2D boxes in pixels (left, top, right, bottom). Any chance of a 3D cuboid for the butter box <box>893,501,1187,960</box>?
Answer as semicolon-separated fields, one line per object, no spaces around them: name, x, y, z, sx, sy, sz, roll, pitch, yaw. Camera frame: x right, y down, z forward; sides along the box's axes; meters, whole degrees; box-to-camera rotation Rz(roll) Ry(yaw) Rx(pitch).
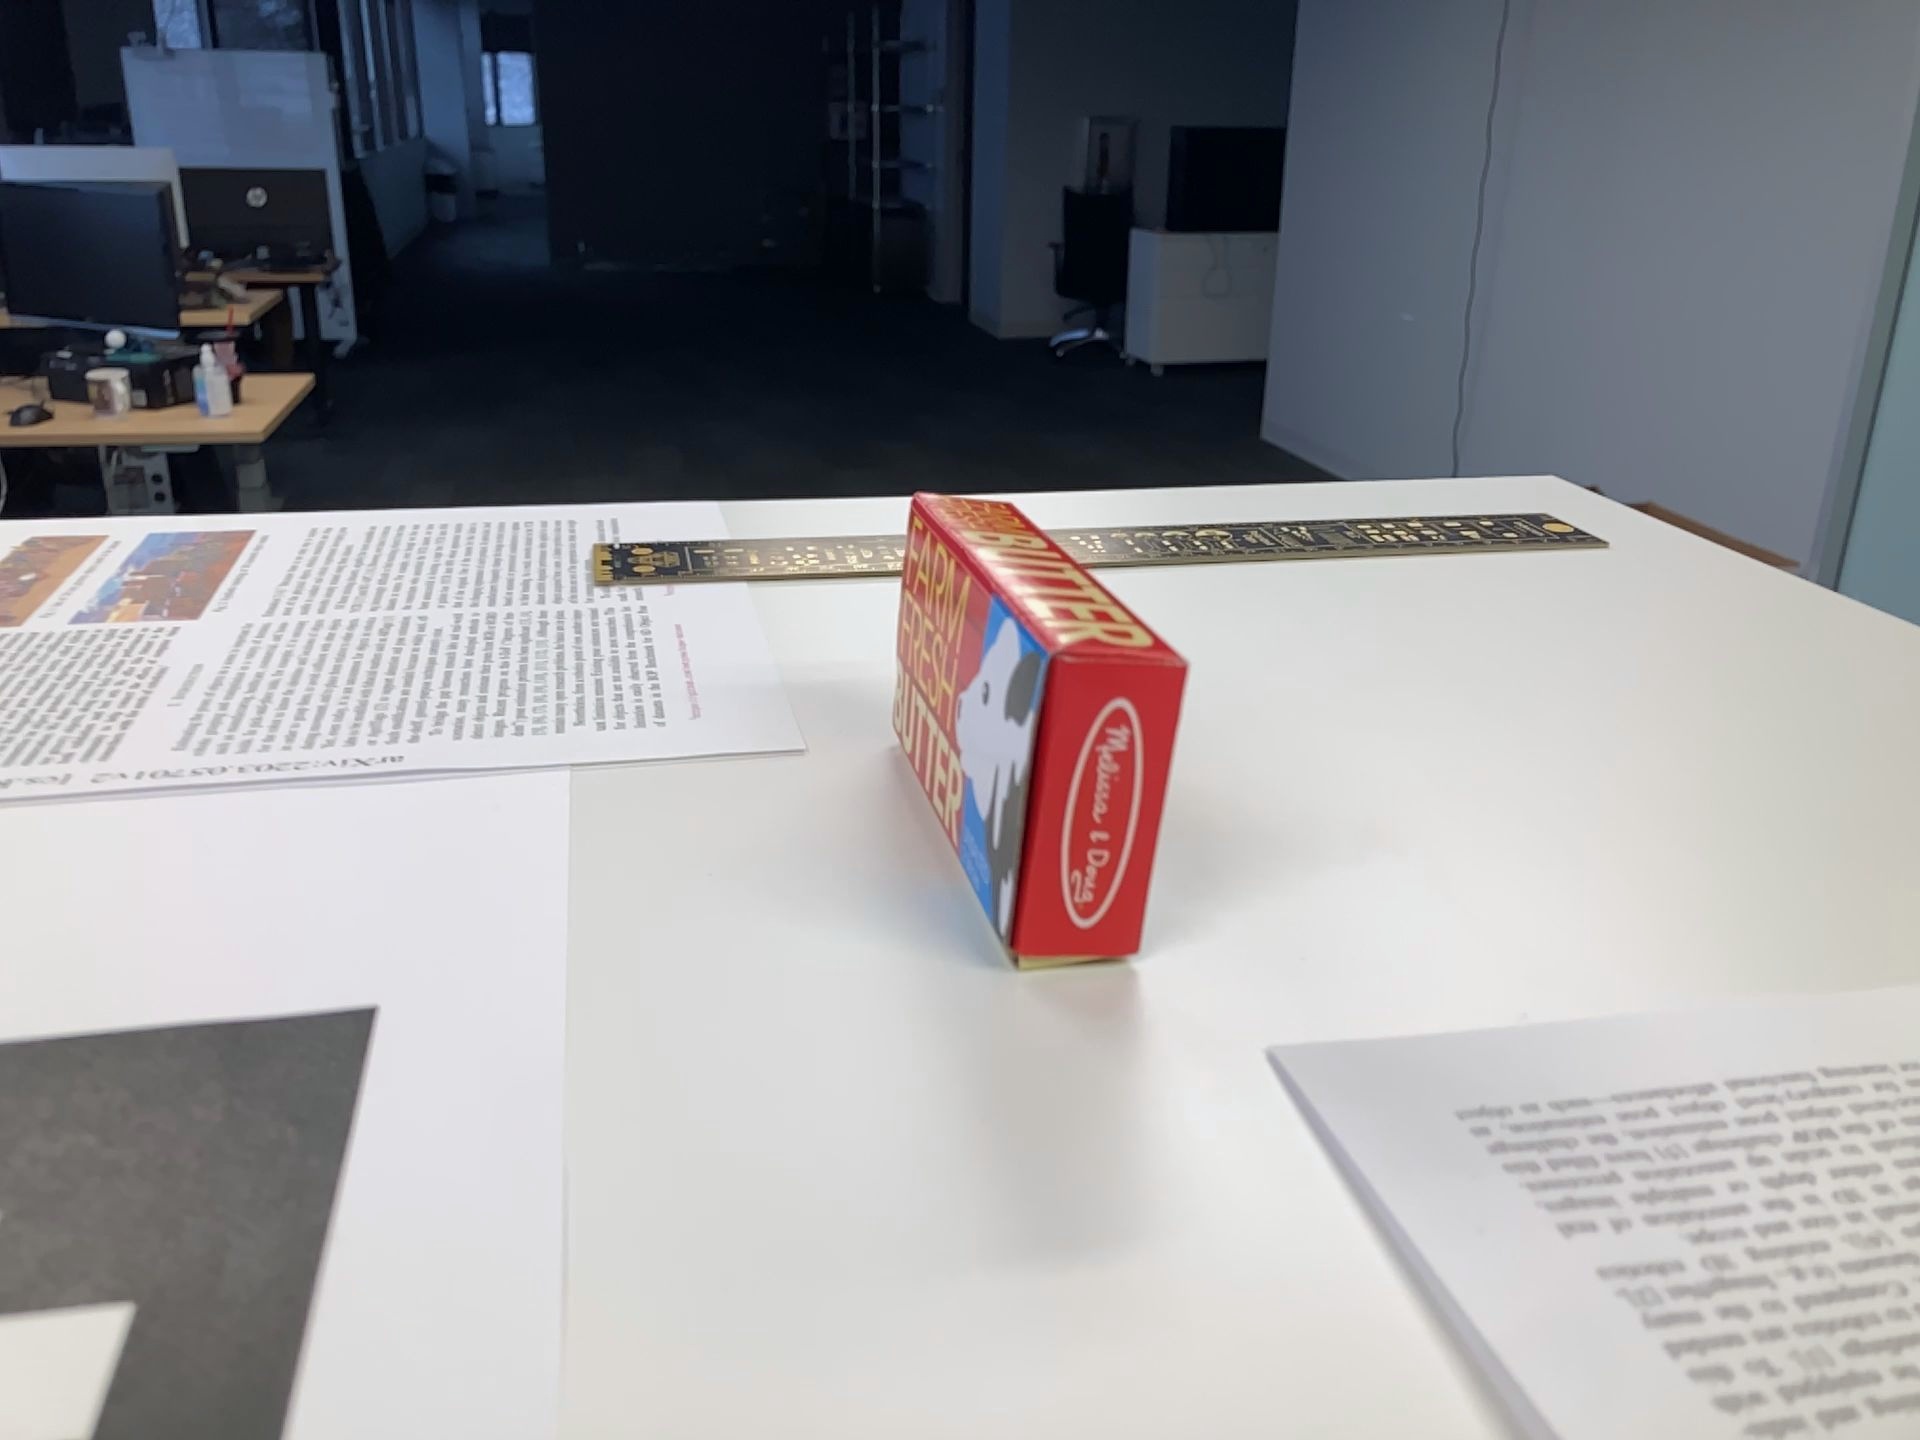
butter box;0.010;-0.004;0.295;0.024;0.053;0.103;1;21;-14
